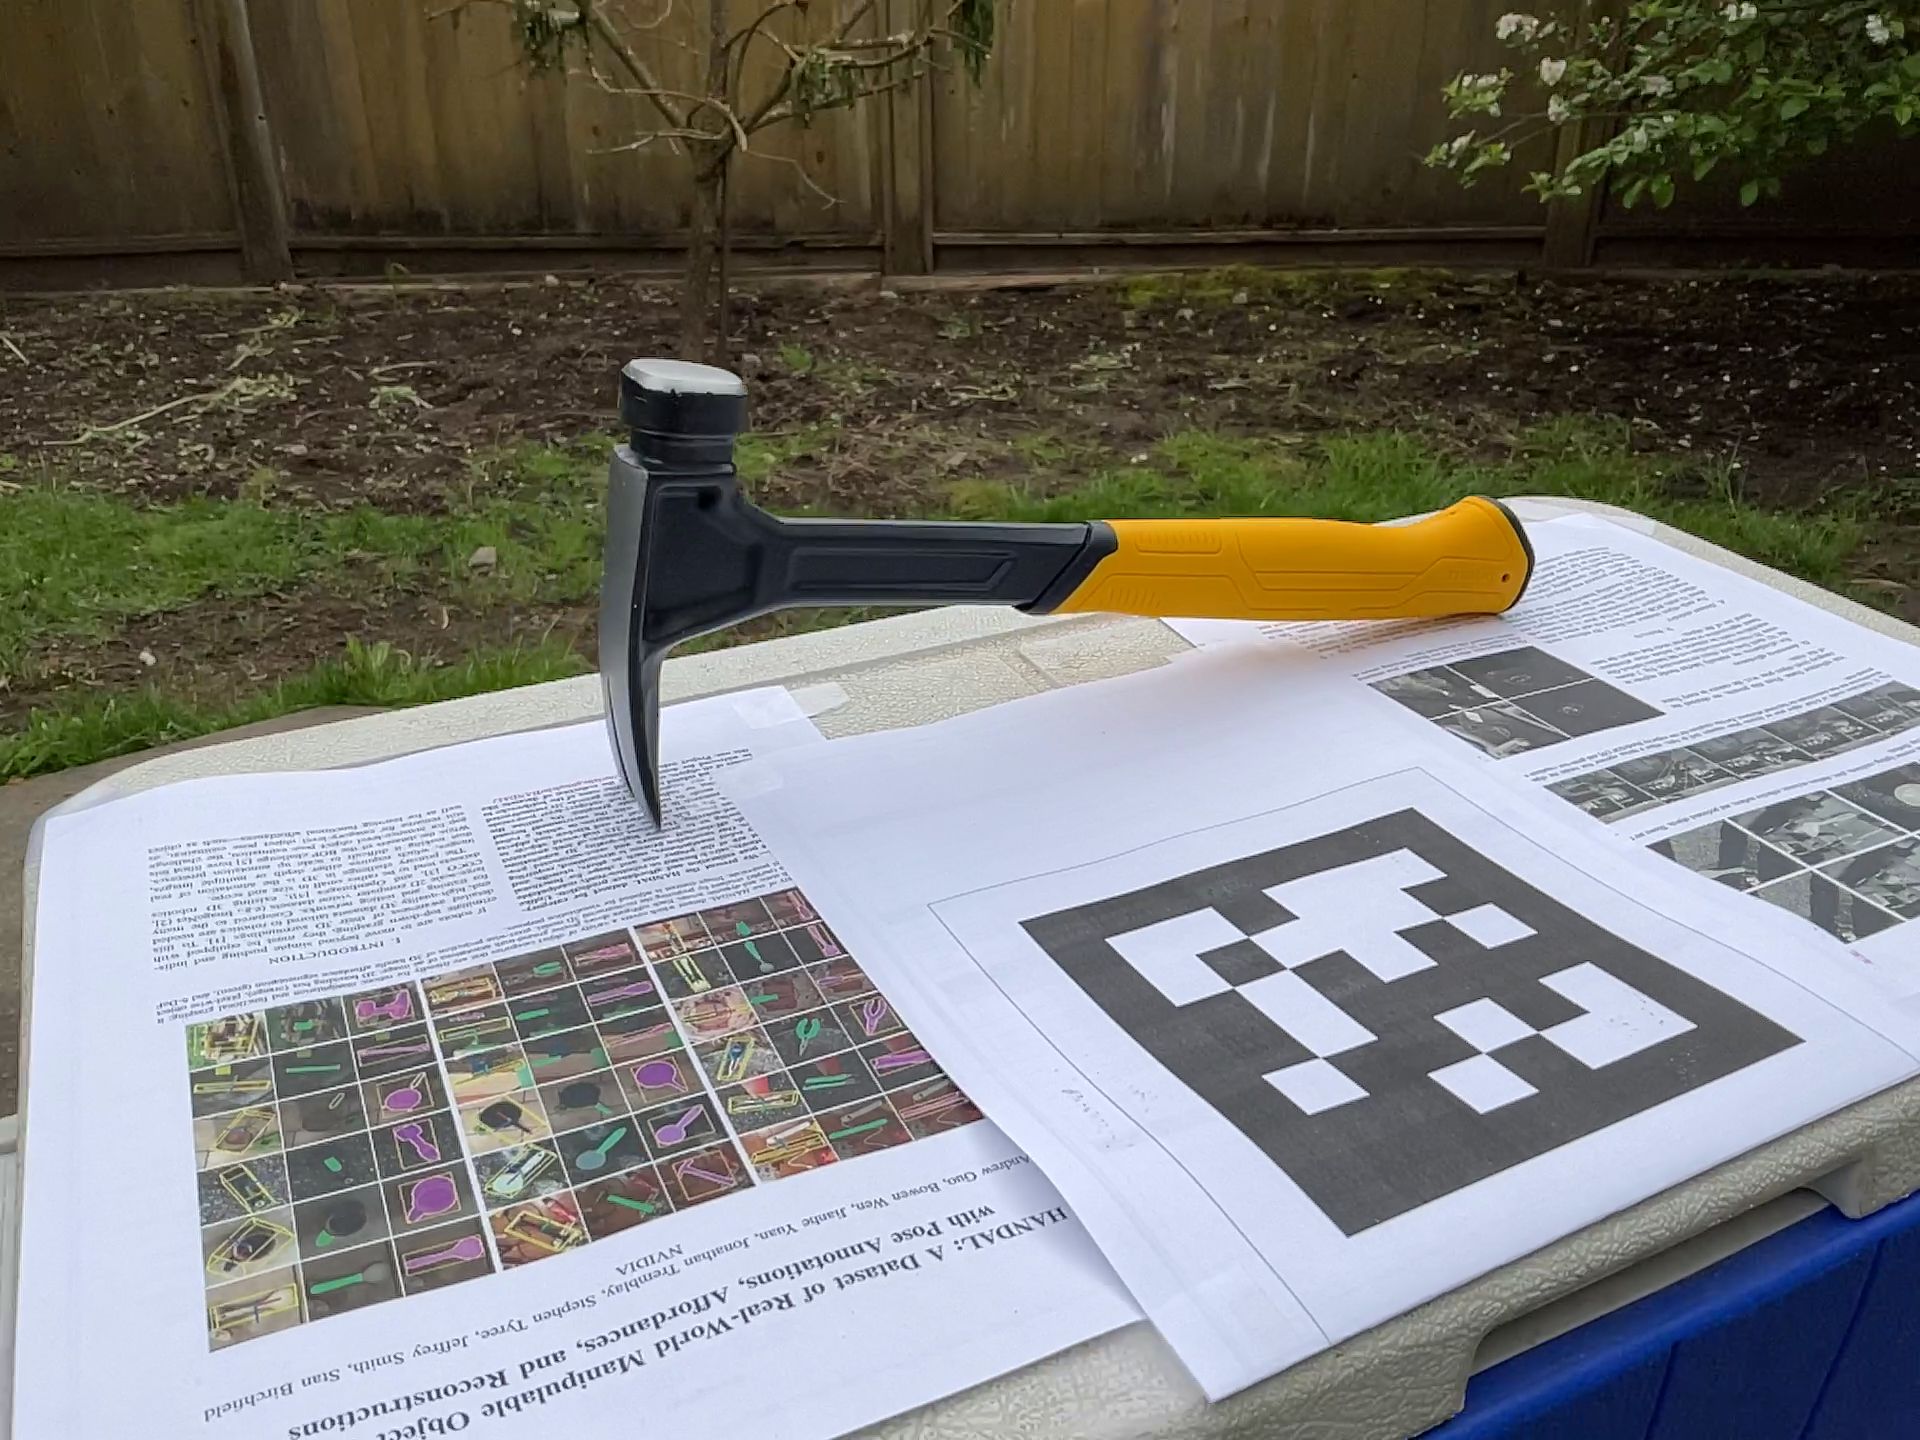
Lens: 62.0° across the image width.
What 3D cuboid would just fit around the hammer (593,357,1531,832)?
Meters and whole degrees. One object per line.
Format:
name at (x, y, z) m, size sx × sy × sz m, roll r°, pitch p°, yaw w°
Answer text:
hammer at (0.051, -0.041, 0.509) m, size 0.336 × 0.127 × 0.034 m, roll -3°, pitch 25°, yaw -29°
